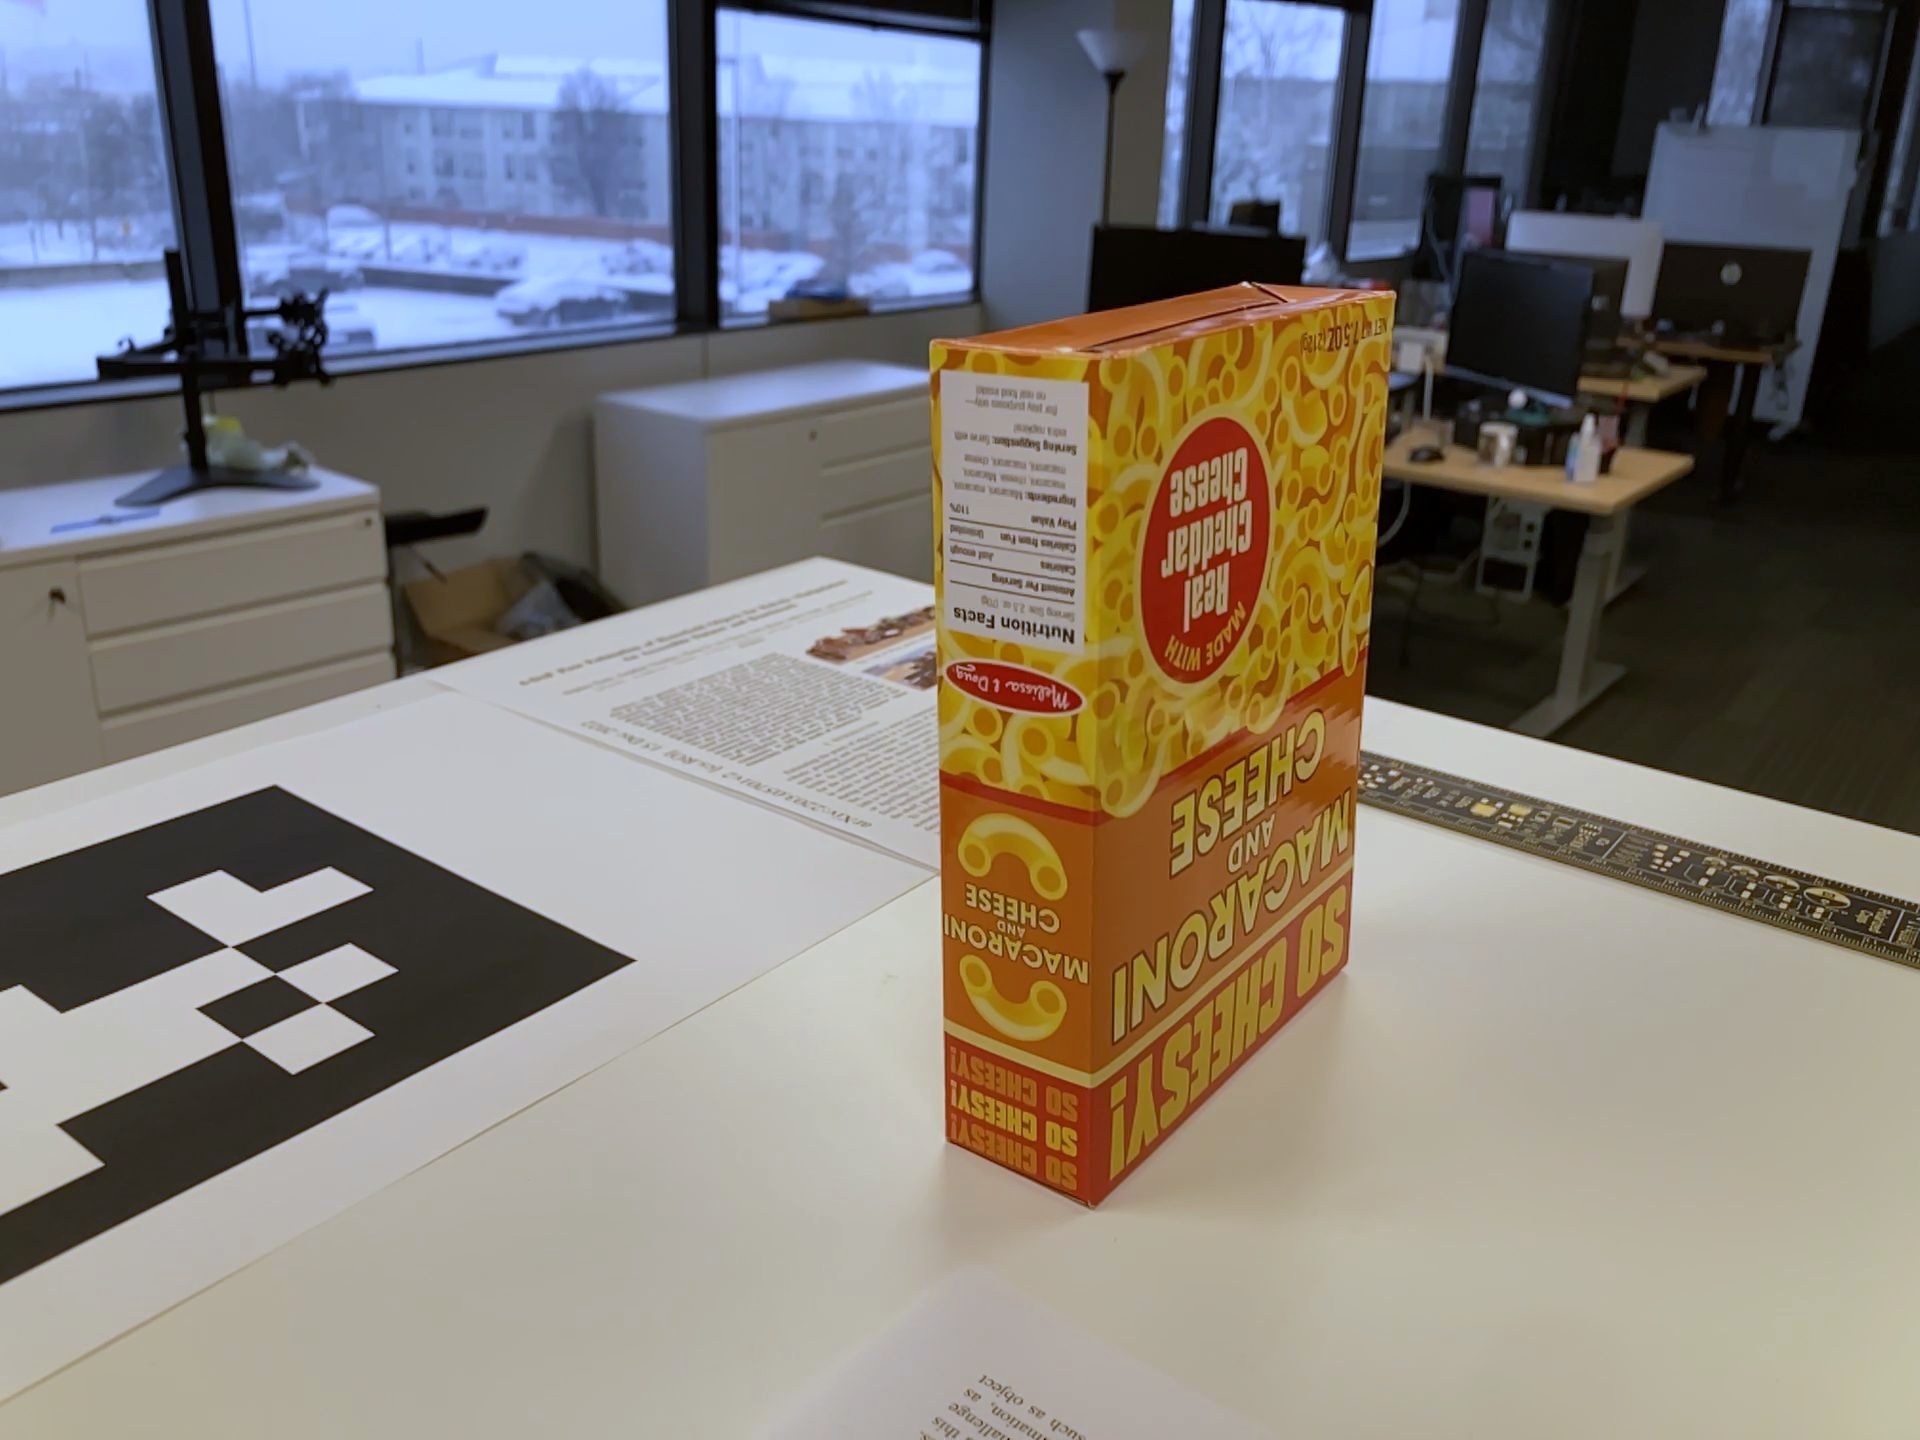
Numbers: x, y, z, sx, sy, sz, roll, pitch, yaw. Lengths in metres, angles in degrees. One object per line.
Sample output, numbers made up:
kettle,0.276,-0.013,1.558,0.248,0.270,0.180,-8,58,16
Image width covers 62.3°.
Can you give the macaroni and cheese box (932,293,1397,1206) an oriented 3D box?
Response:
macaroni and cheese box,0.047,-0.002,0.343,0.040,0.166,0.124,13,24,35
